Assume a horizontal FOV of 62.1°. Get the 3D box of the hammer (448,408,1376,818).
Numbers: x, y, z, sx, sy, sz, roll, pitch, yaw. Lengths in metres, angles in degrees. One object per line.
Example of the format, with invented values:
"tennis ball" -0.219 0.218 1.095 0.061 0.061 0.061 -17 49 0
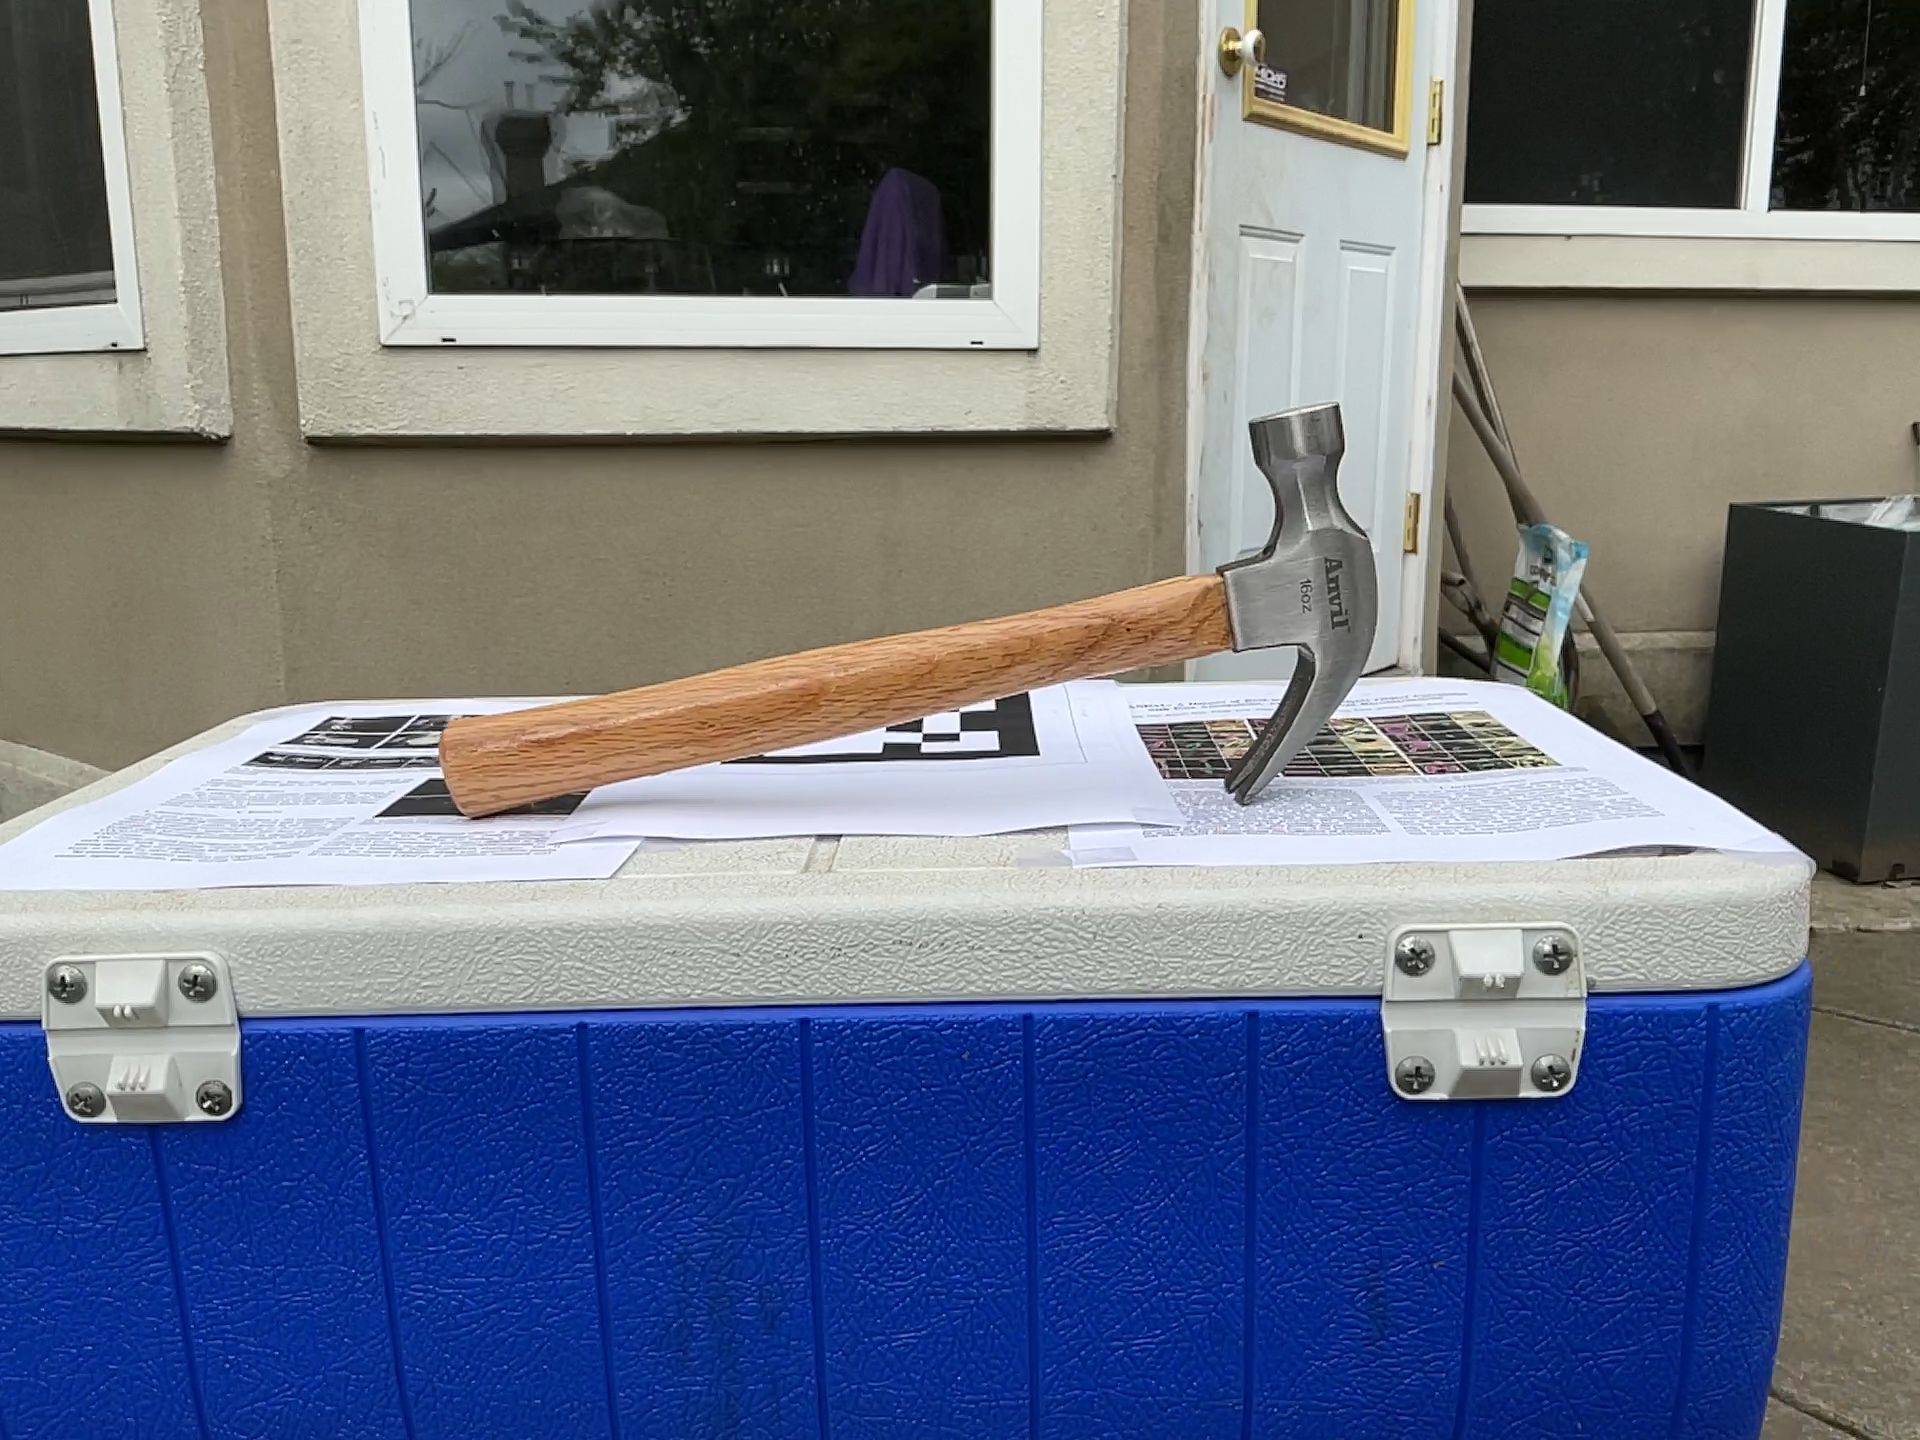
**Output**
"hammer" -0.017 -0.012 0.570 0.331 0.130 0.031 -12 10 2
